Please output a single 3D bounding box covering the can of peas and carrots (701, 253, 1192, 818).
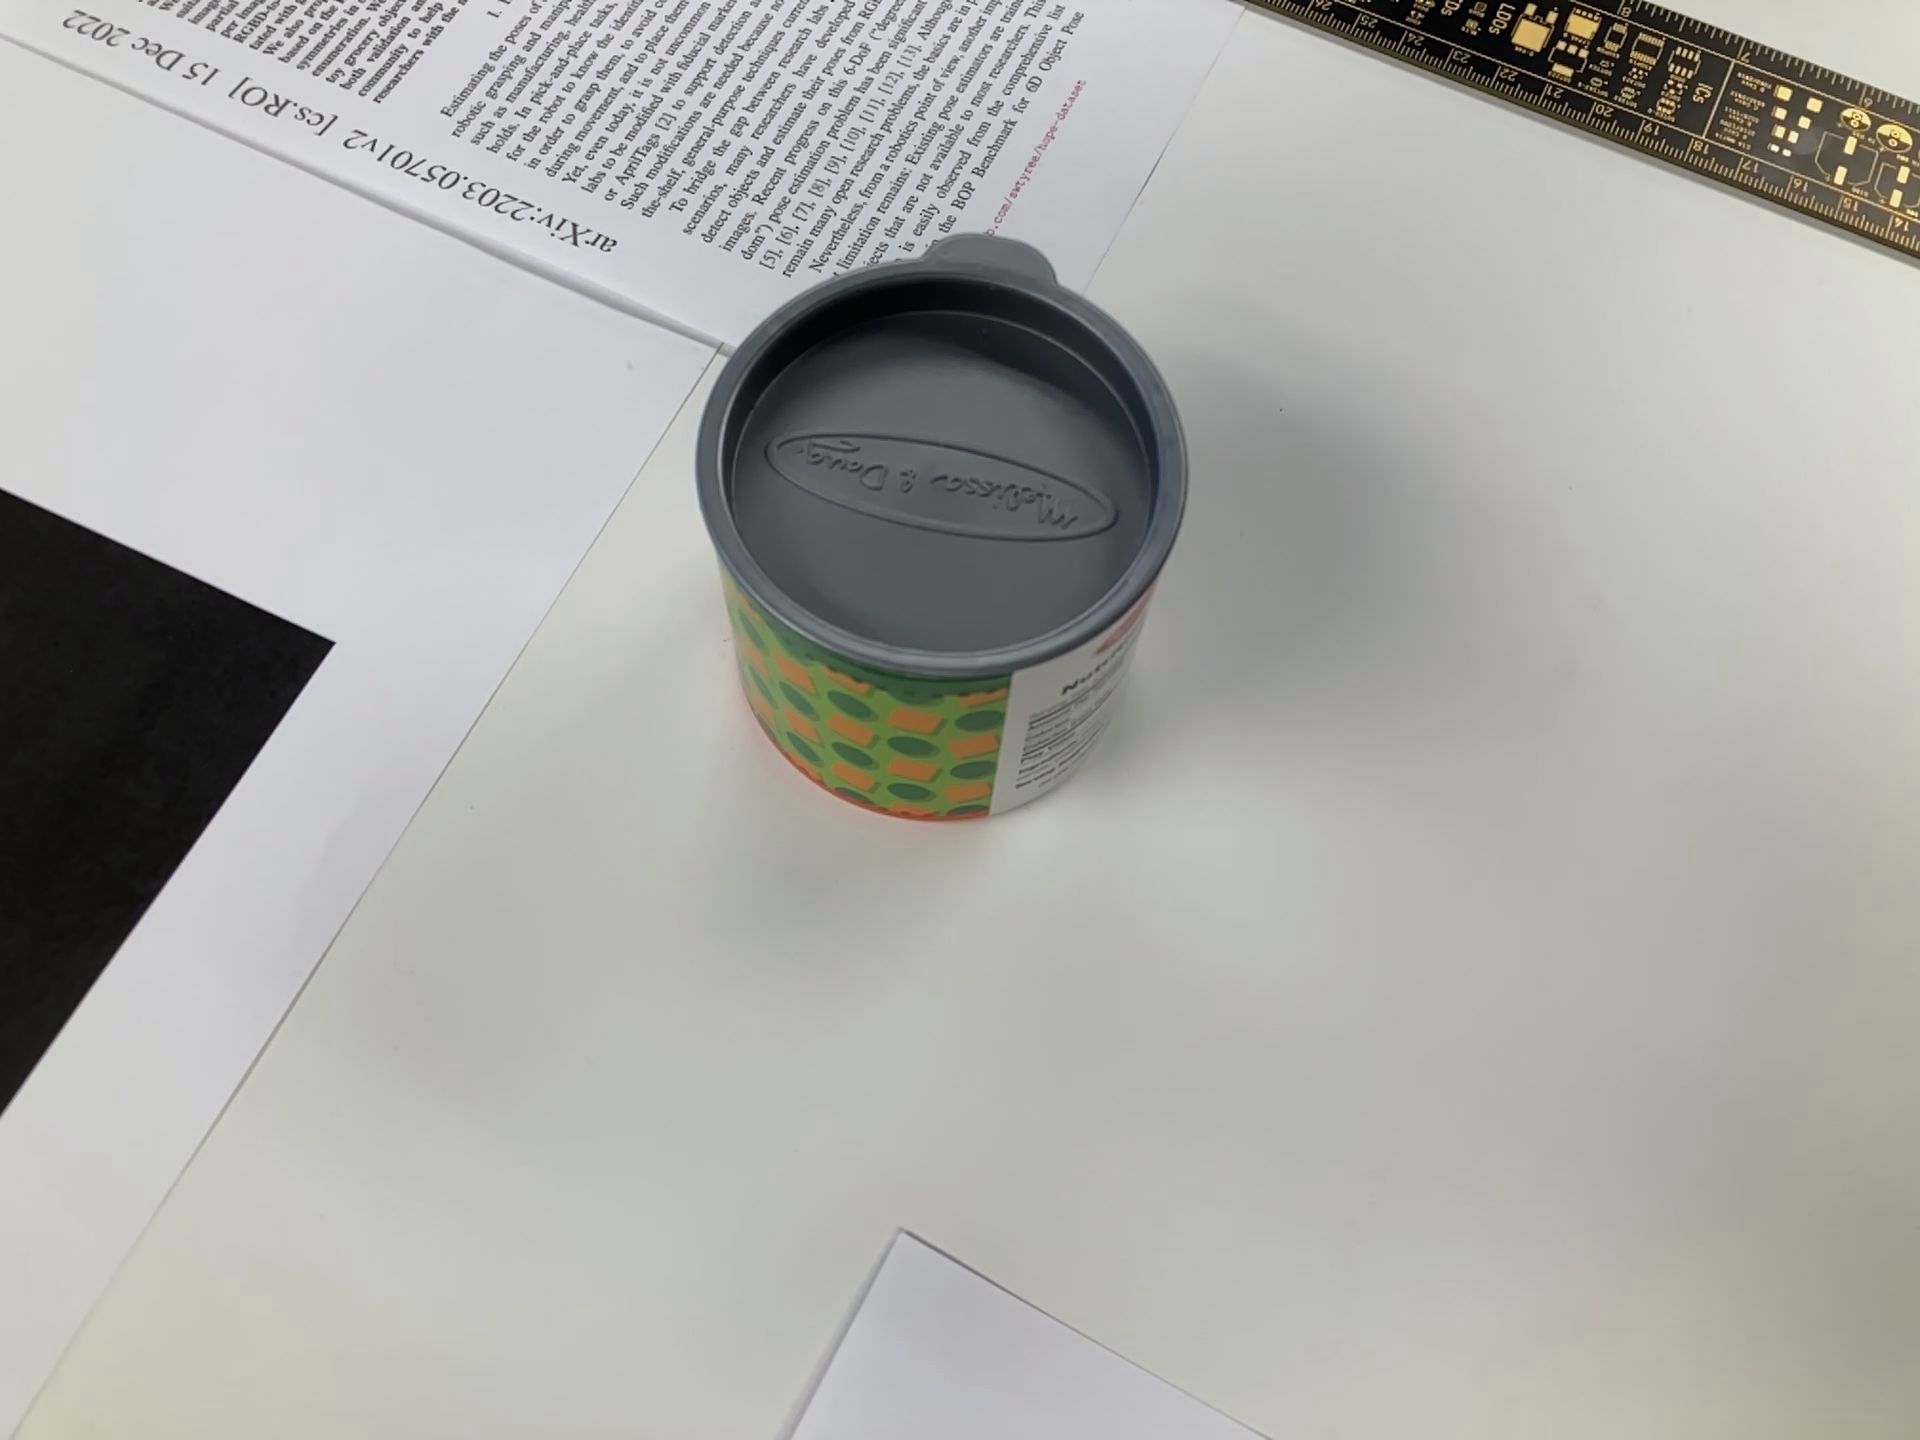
[{"bbox_3d":[-0.005,-0.027,0.240,0.071,0.059,0.071,1,66,-2],"label":"can of peas and carrots"}]
